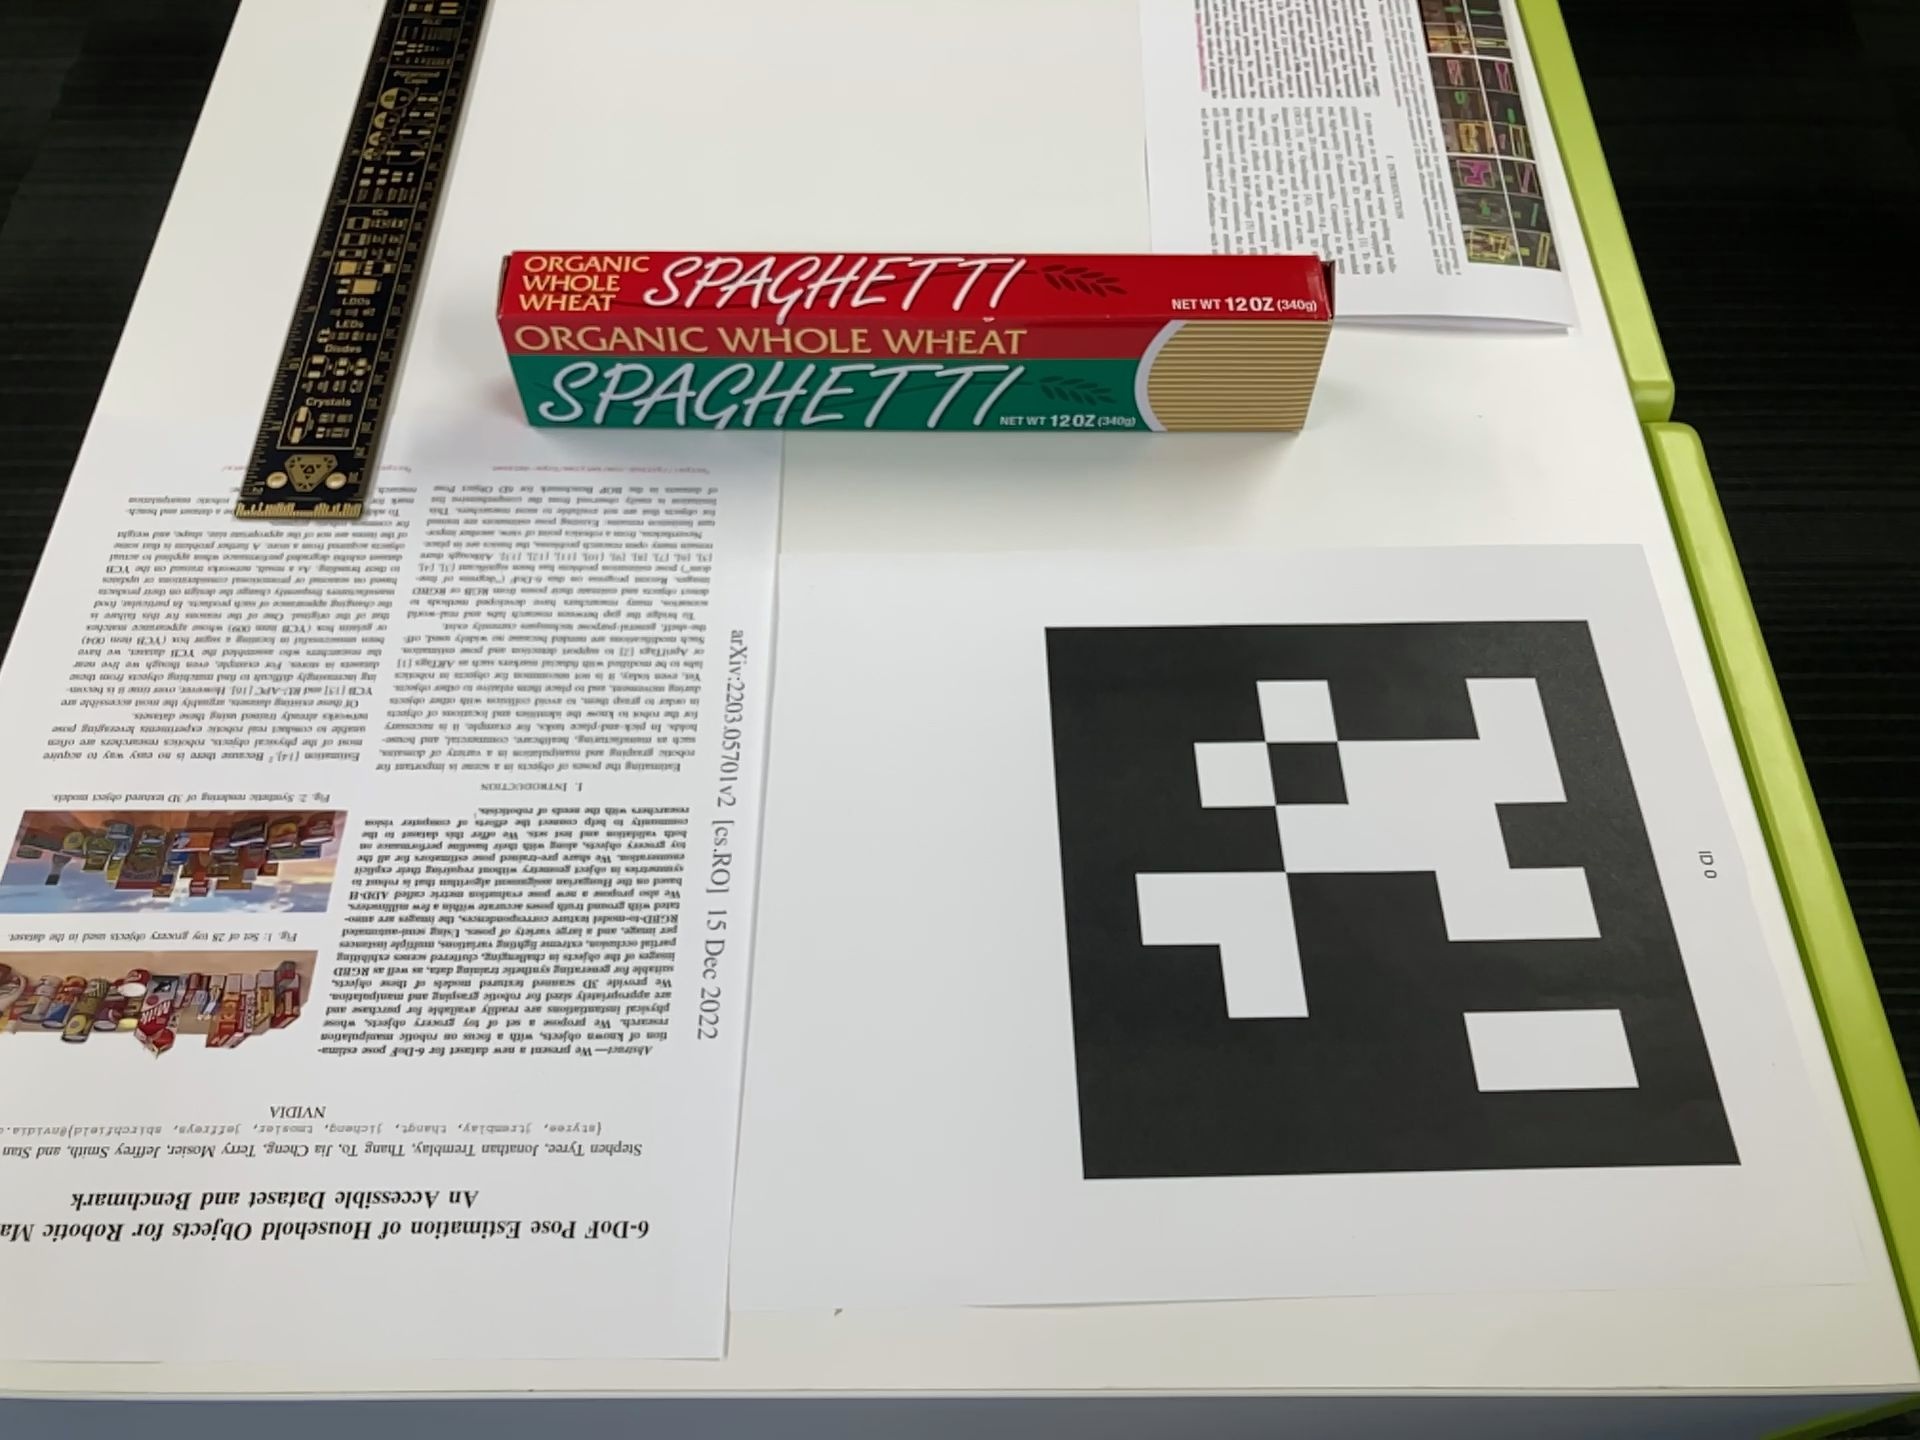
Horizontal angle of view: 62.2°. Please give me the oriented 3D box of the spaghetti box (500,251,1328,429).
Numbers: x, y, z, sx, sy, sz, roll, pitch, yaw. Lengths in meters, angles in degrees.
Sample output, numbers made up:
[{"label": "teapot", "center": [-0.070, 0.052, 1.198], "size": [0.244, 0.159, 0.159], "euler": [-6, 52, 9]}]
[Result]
[{"label": "spaghetti box", "center": [-0.015, -0.118, 0.496], "size": [0.250, 0.050, 0.028], "euler": [0, 57, -1]}]
